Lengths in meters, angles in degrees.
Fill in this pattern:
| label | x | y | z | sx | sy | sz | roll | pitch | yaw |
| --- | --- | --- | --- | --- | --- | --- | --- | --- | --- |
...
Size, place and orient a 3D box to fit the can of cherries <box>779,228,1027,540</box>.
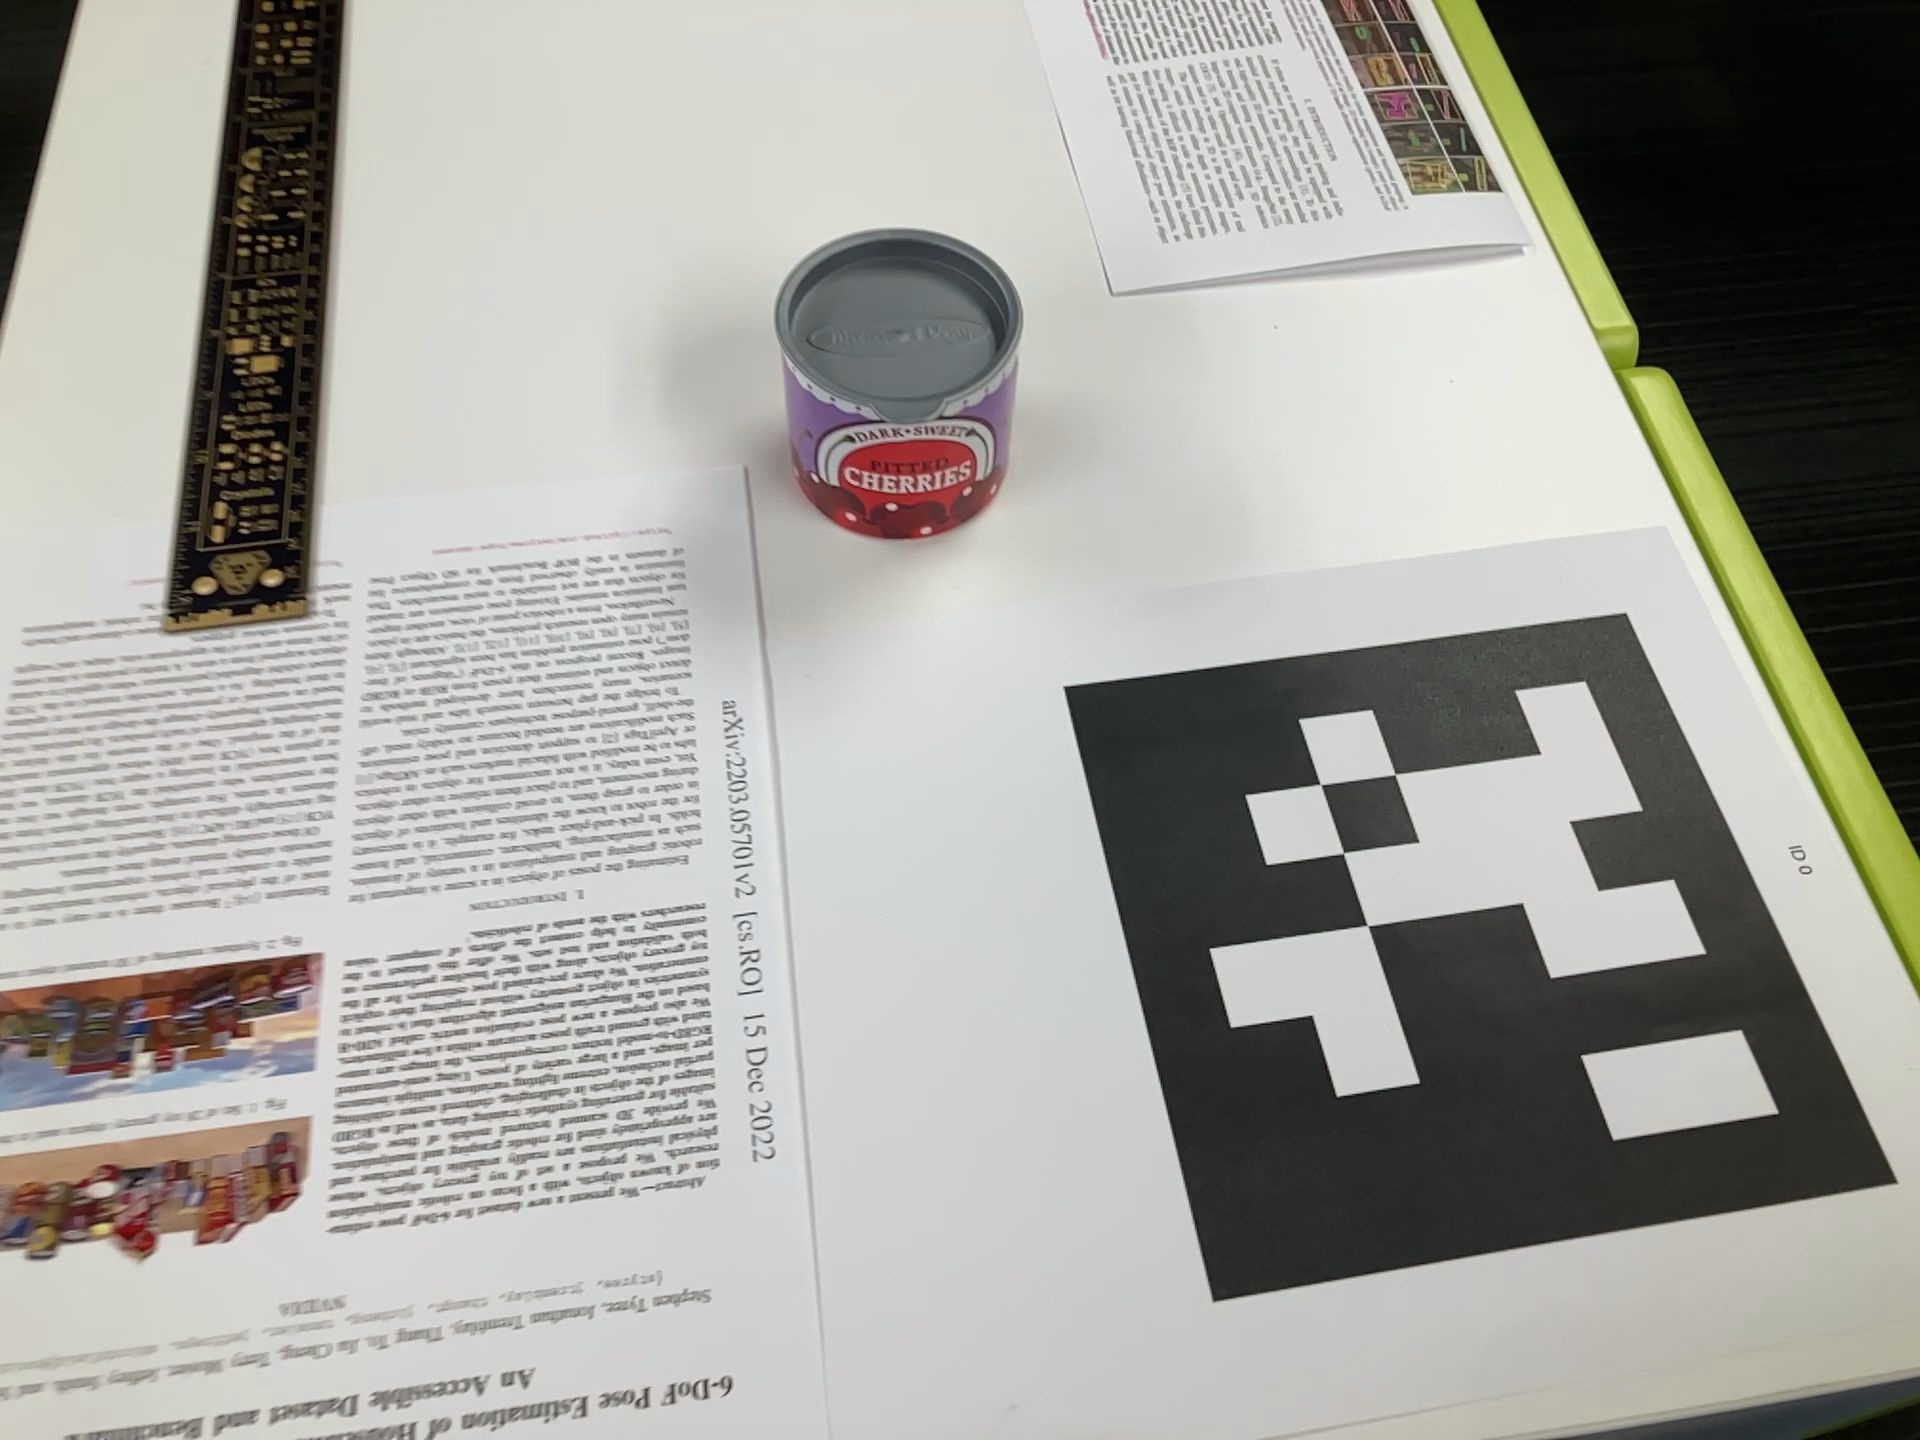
| label | x | y | z | sx | sy | sz | roll | pitch | yaw |
| --- | --- | --- | --- | --- | --- | --- | --- | --- | --- |
| can of cherries | -0.016 | -0.092 | 0.446 | 0.071 | 0.058 | 0.071 | 1 | 58 | -1 |
